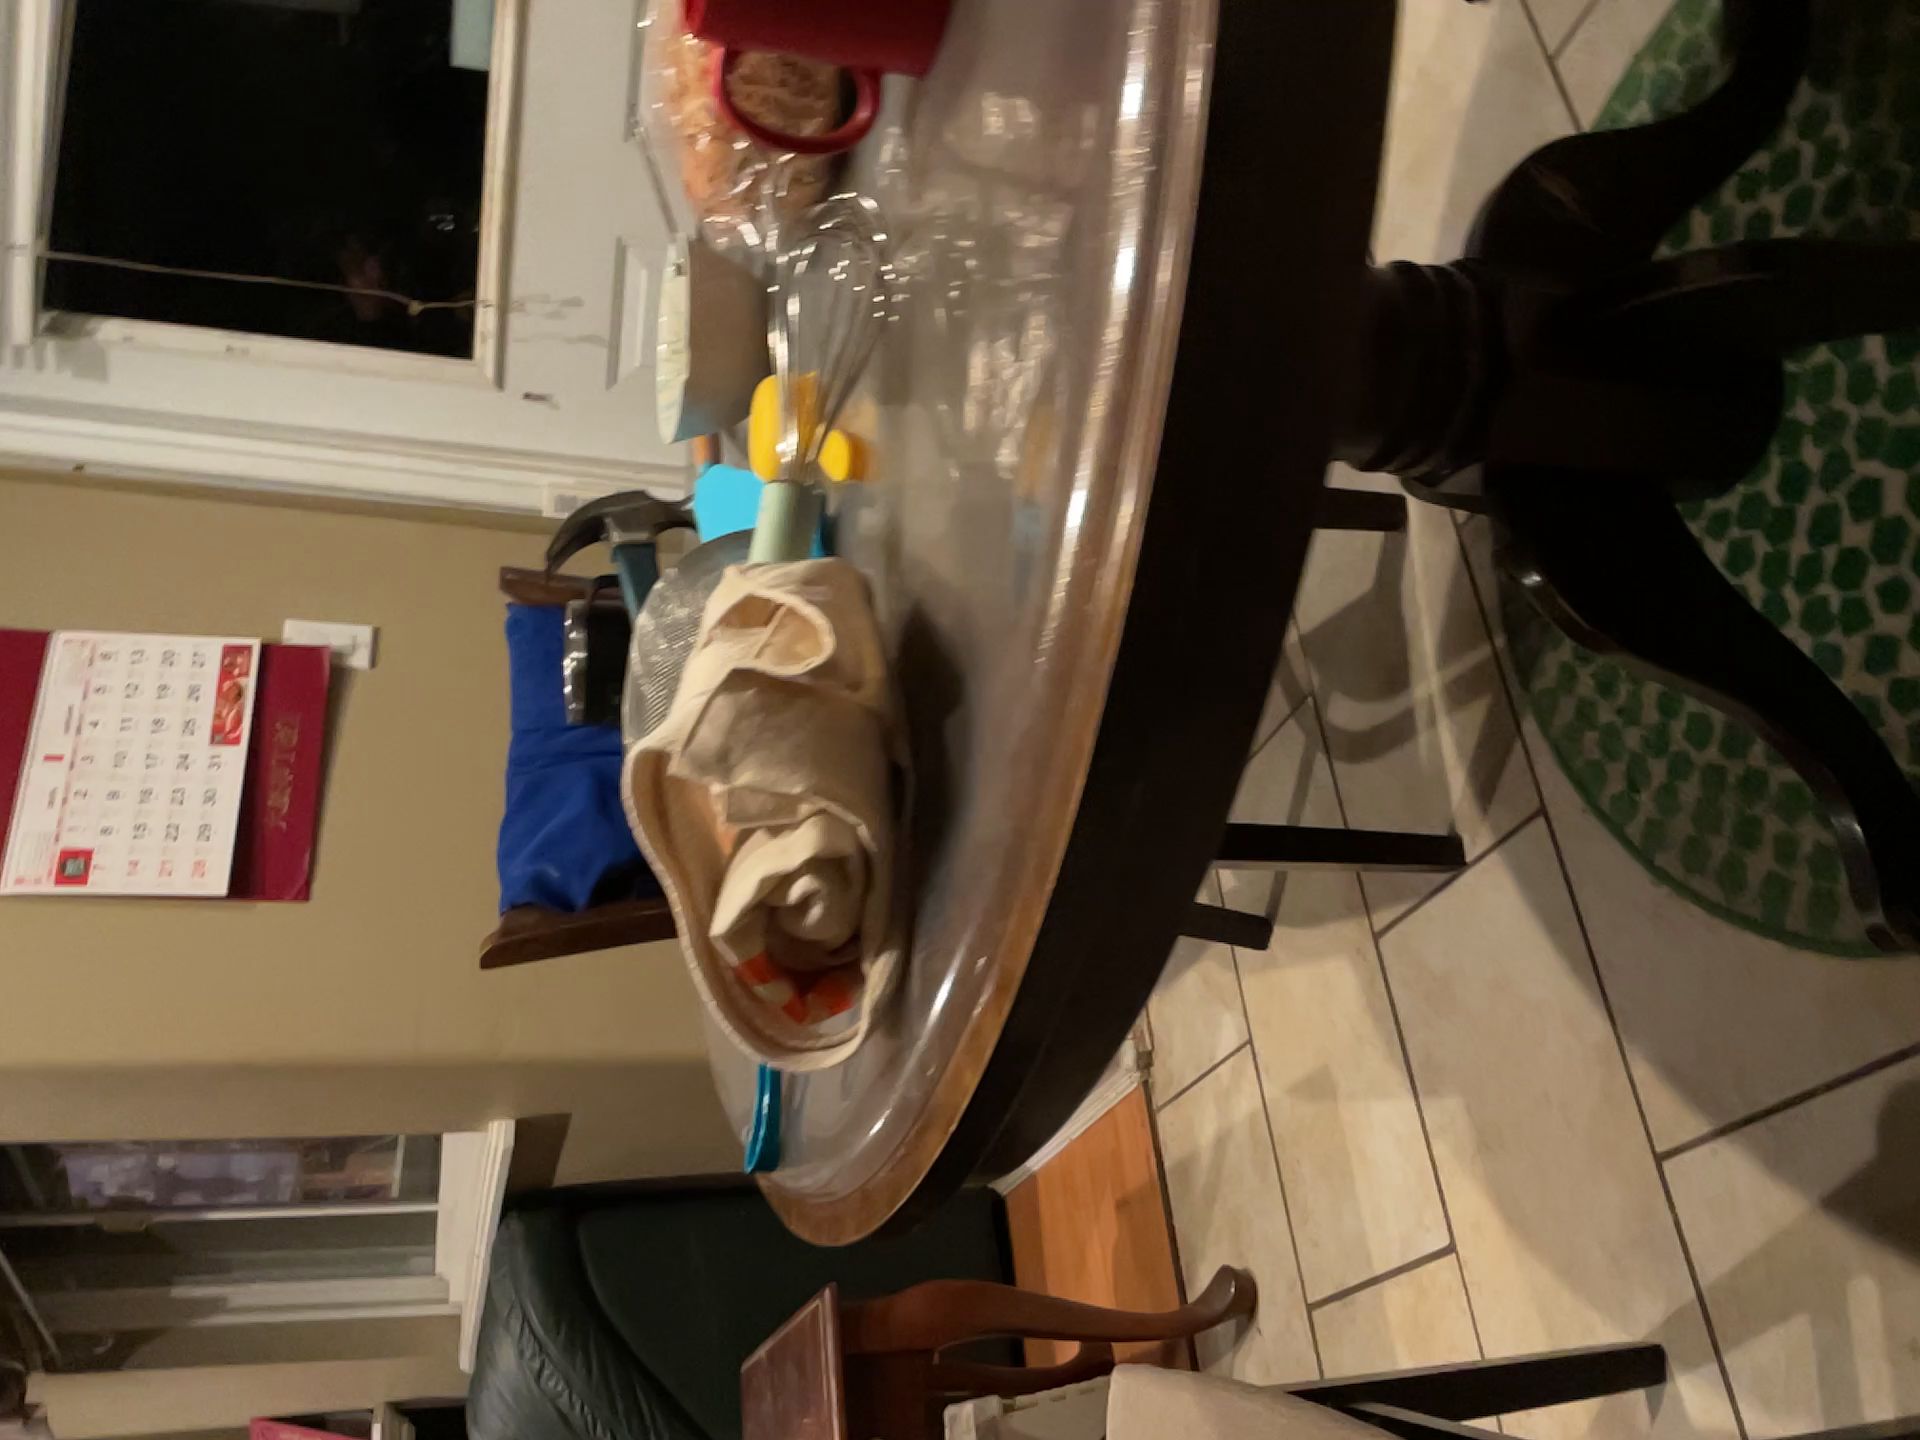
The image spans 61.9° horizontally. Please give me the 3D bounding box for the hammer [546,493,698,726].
[{"bbox_3d":[-0.192,-0.027,1.060,0.033,0.128,0.331,108,148,-49],"label":"hammer"}]

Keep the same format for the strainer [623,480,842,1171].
[{"bbox_3d":[-0.128,0.053,0.821,0.211,0.095,0.340,140,134,-69],"label":"strainer"}]

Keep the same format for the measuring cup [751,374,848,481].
[{"bbox_3d":[-0.082,-0.139,0.801,0.156,0.029,0.062,-131,46,-68],"label":"measuring cup"}]

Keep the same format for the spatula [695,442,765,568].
[{"bbox_3d":[-0.157,-0.169,1.076,0.318,0.044,0.082,-112,28,-62],"label":"spatula"}]

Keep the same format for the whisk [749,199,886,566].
[{"bbox_3d":[-0.072,-0.106,0.685,0.059,0.058,0.246,3,81,43],"label":"whisk"}]
